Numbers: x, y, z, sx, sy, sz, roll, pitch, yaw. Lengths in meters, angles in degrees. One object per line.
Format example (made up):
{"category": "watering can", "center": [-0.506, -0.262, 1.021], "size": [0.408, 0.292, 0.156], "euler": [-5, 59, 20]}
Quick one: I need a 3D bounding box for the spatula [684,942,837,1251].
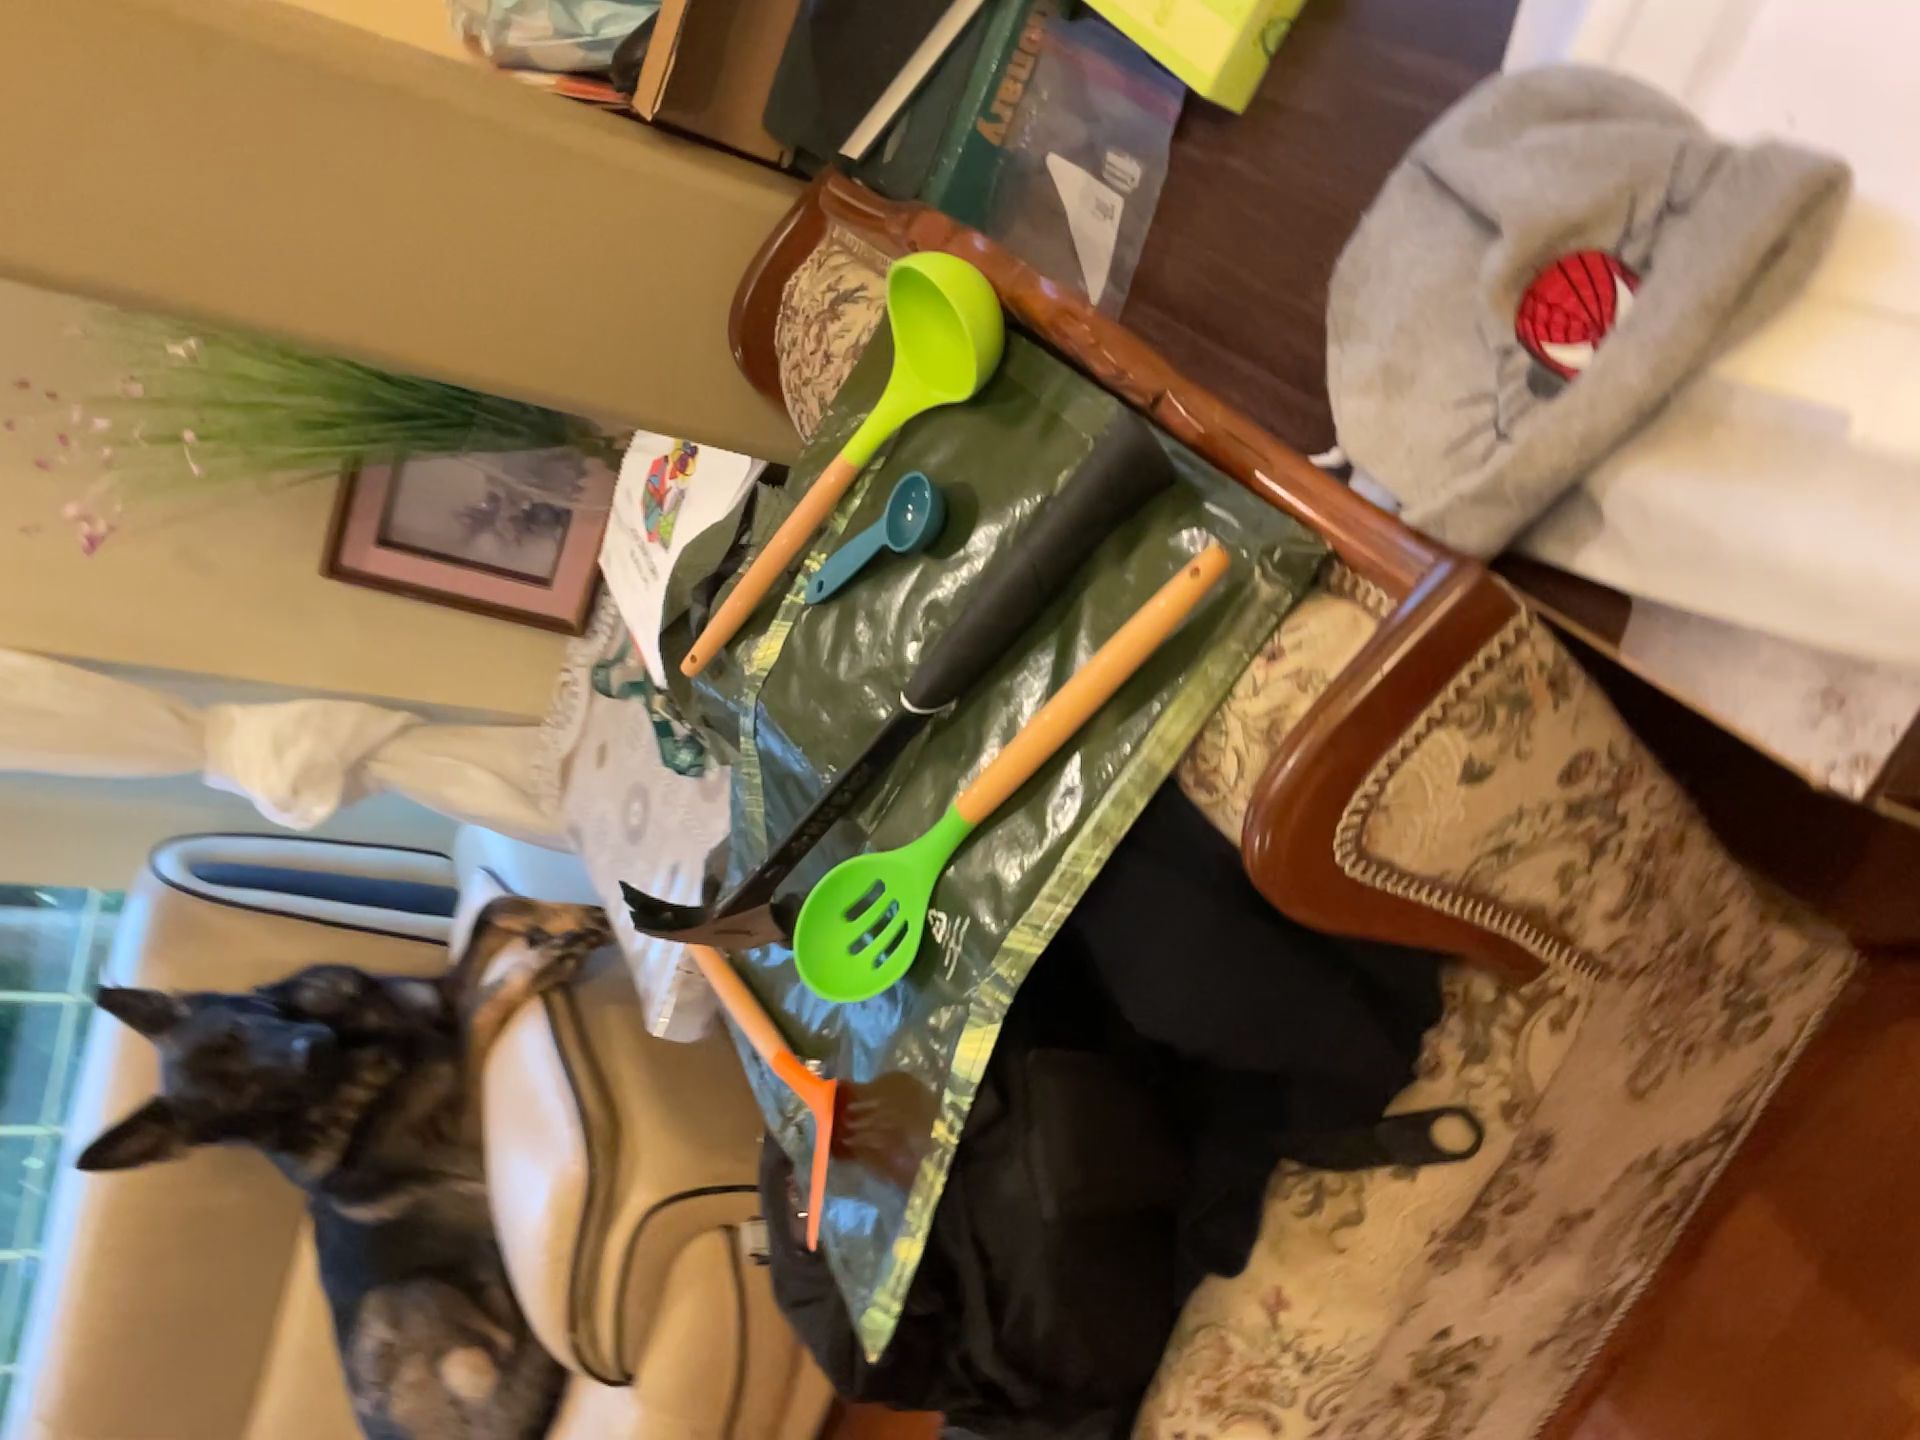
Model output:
{"category": "spatula", "center": [-0.127, 0.198, 0.975], "size": [0.323, 0.041, 0.081], "euler": [35, 120, 57]}

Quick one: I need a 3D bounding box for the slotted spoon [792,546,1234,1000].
{"category": "slotted spoon", "center": [0.021, 0.030, 0.759], "size": [0.314, 0.031, 0.070], "euler": [-47, 61, 28]}

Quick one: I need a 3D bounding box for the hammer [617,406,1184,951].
{"category": "hammer", "center": [-0.029, -0.004, 0.816], "size": [0.409, 0.149, 0.036], "euler": [-48, 54, 31]}

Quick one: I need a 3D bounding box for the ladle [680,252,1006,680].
{"category": "ladle", "center": [-0.081, -0.127, 0.887], "size": [0.320, 0.062, 0.078], "euler": [-47, 72, 31]}

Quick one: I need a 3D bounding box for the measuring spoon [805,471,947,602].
{"category": "measuring spoon", "center": [-0.044, -0.092, 0.859], "size": [0.129, 0.021, 0.042], "euler": [-31, 55, 48]}
